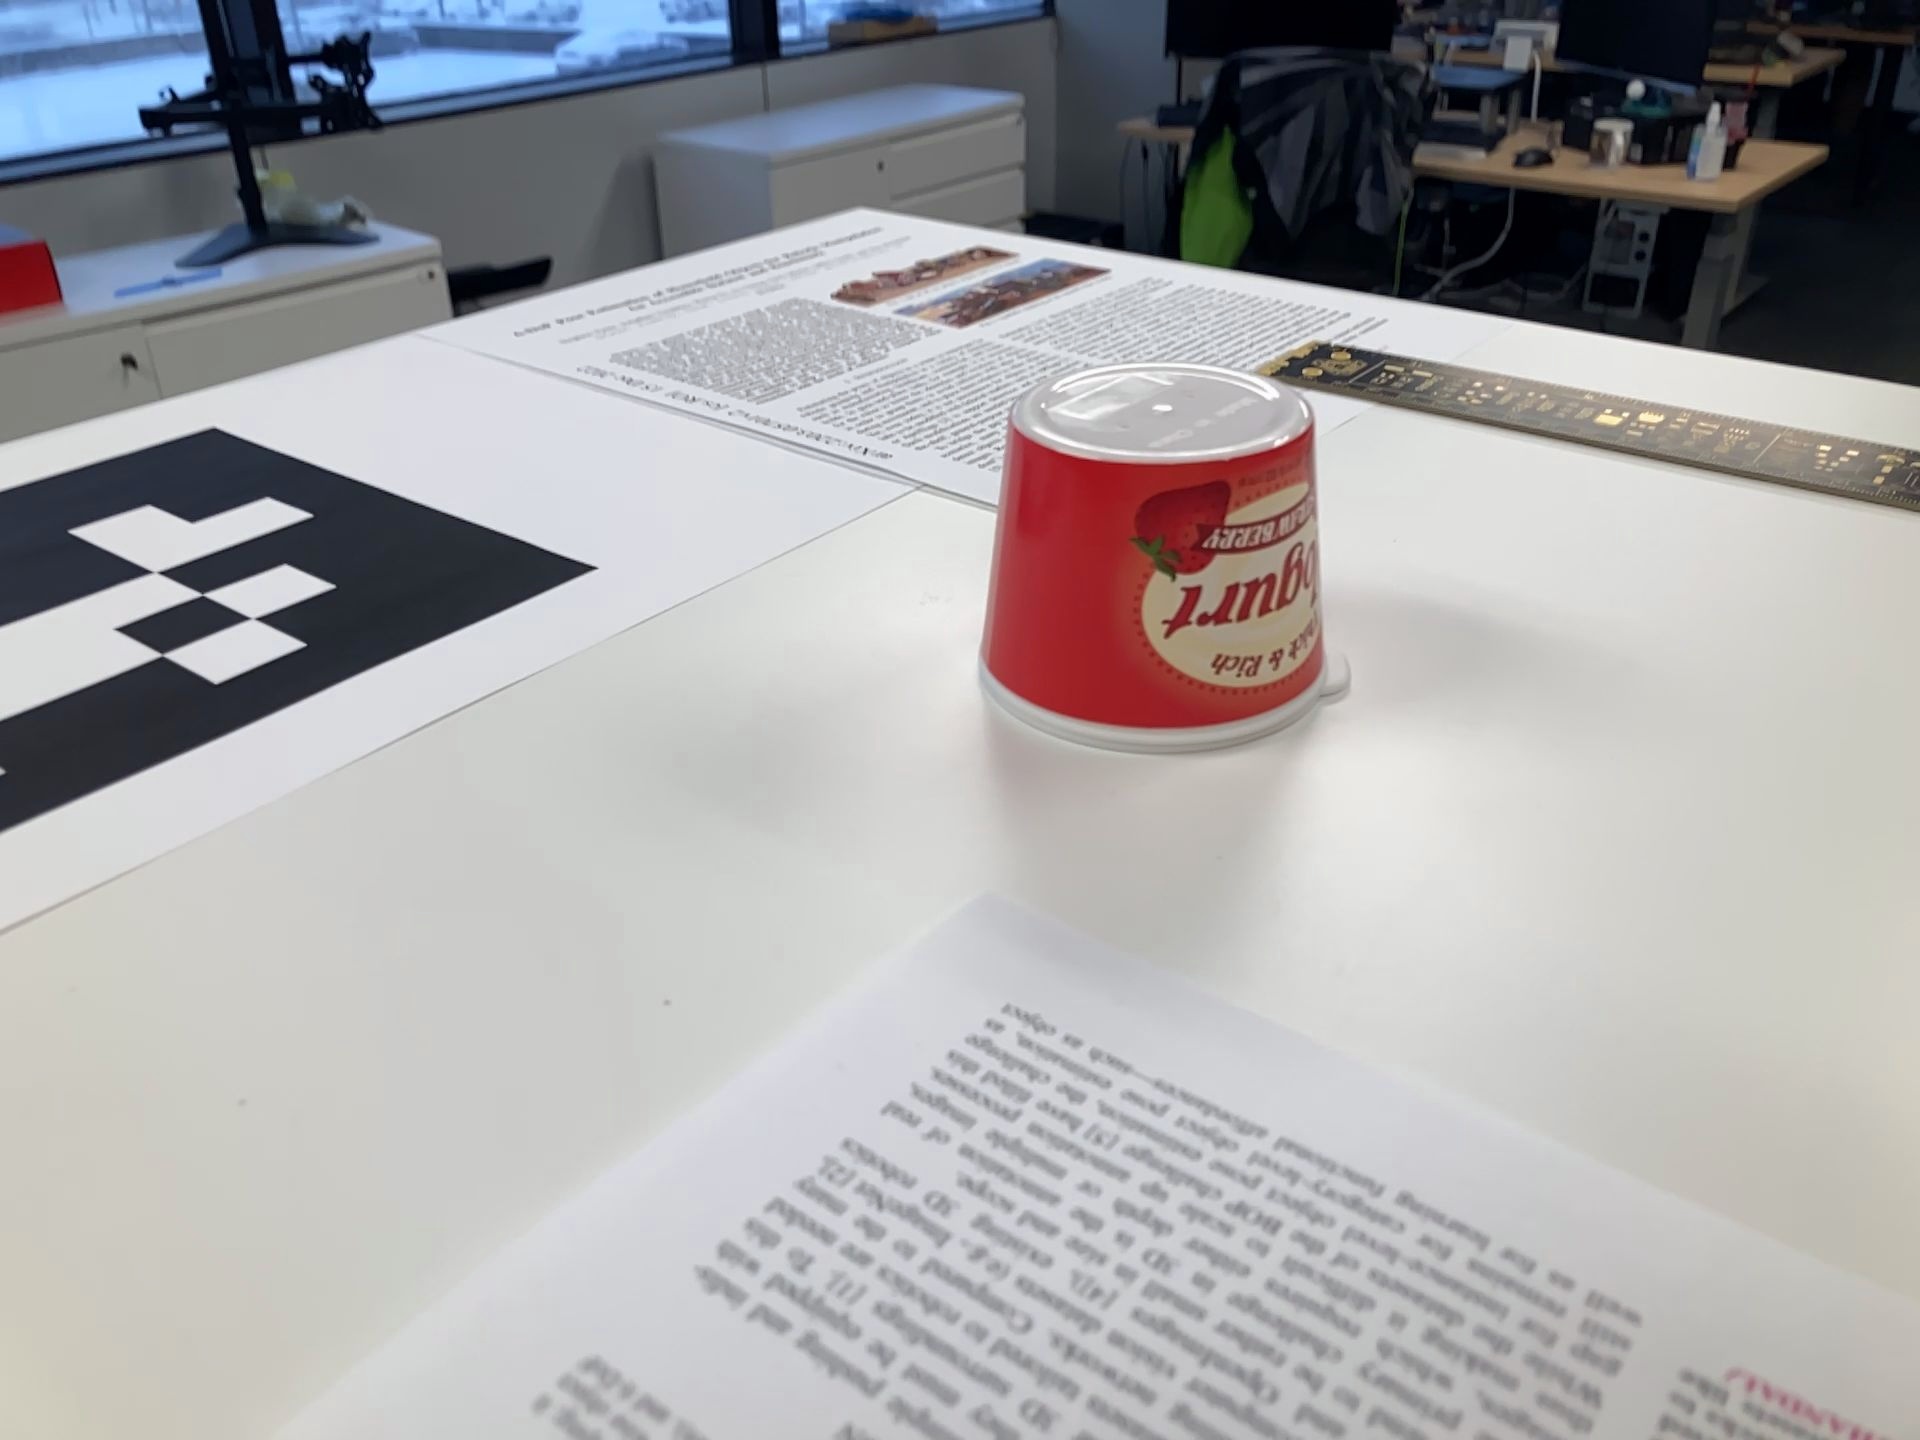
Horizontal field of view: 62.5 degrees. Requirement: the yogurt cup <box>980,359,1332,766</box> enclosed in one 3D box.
[{"bbox_3d":[0.037,-0.034,0.298,0.072,0.054,0.072,-2,30,1],"label":"yogurt cup"}]
